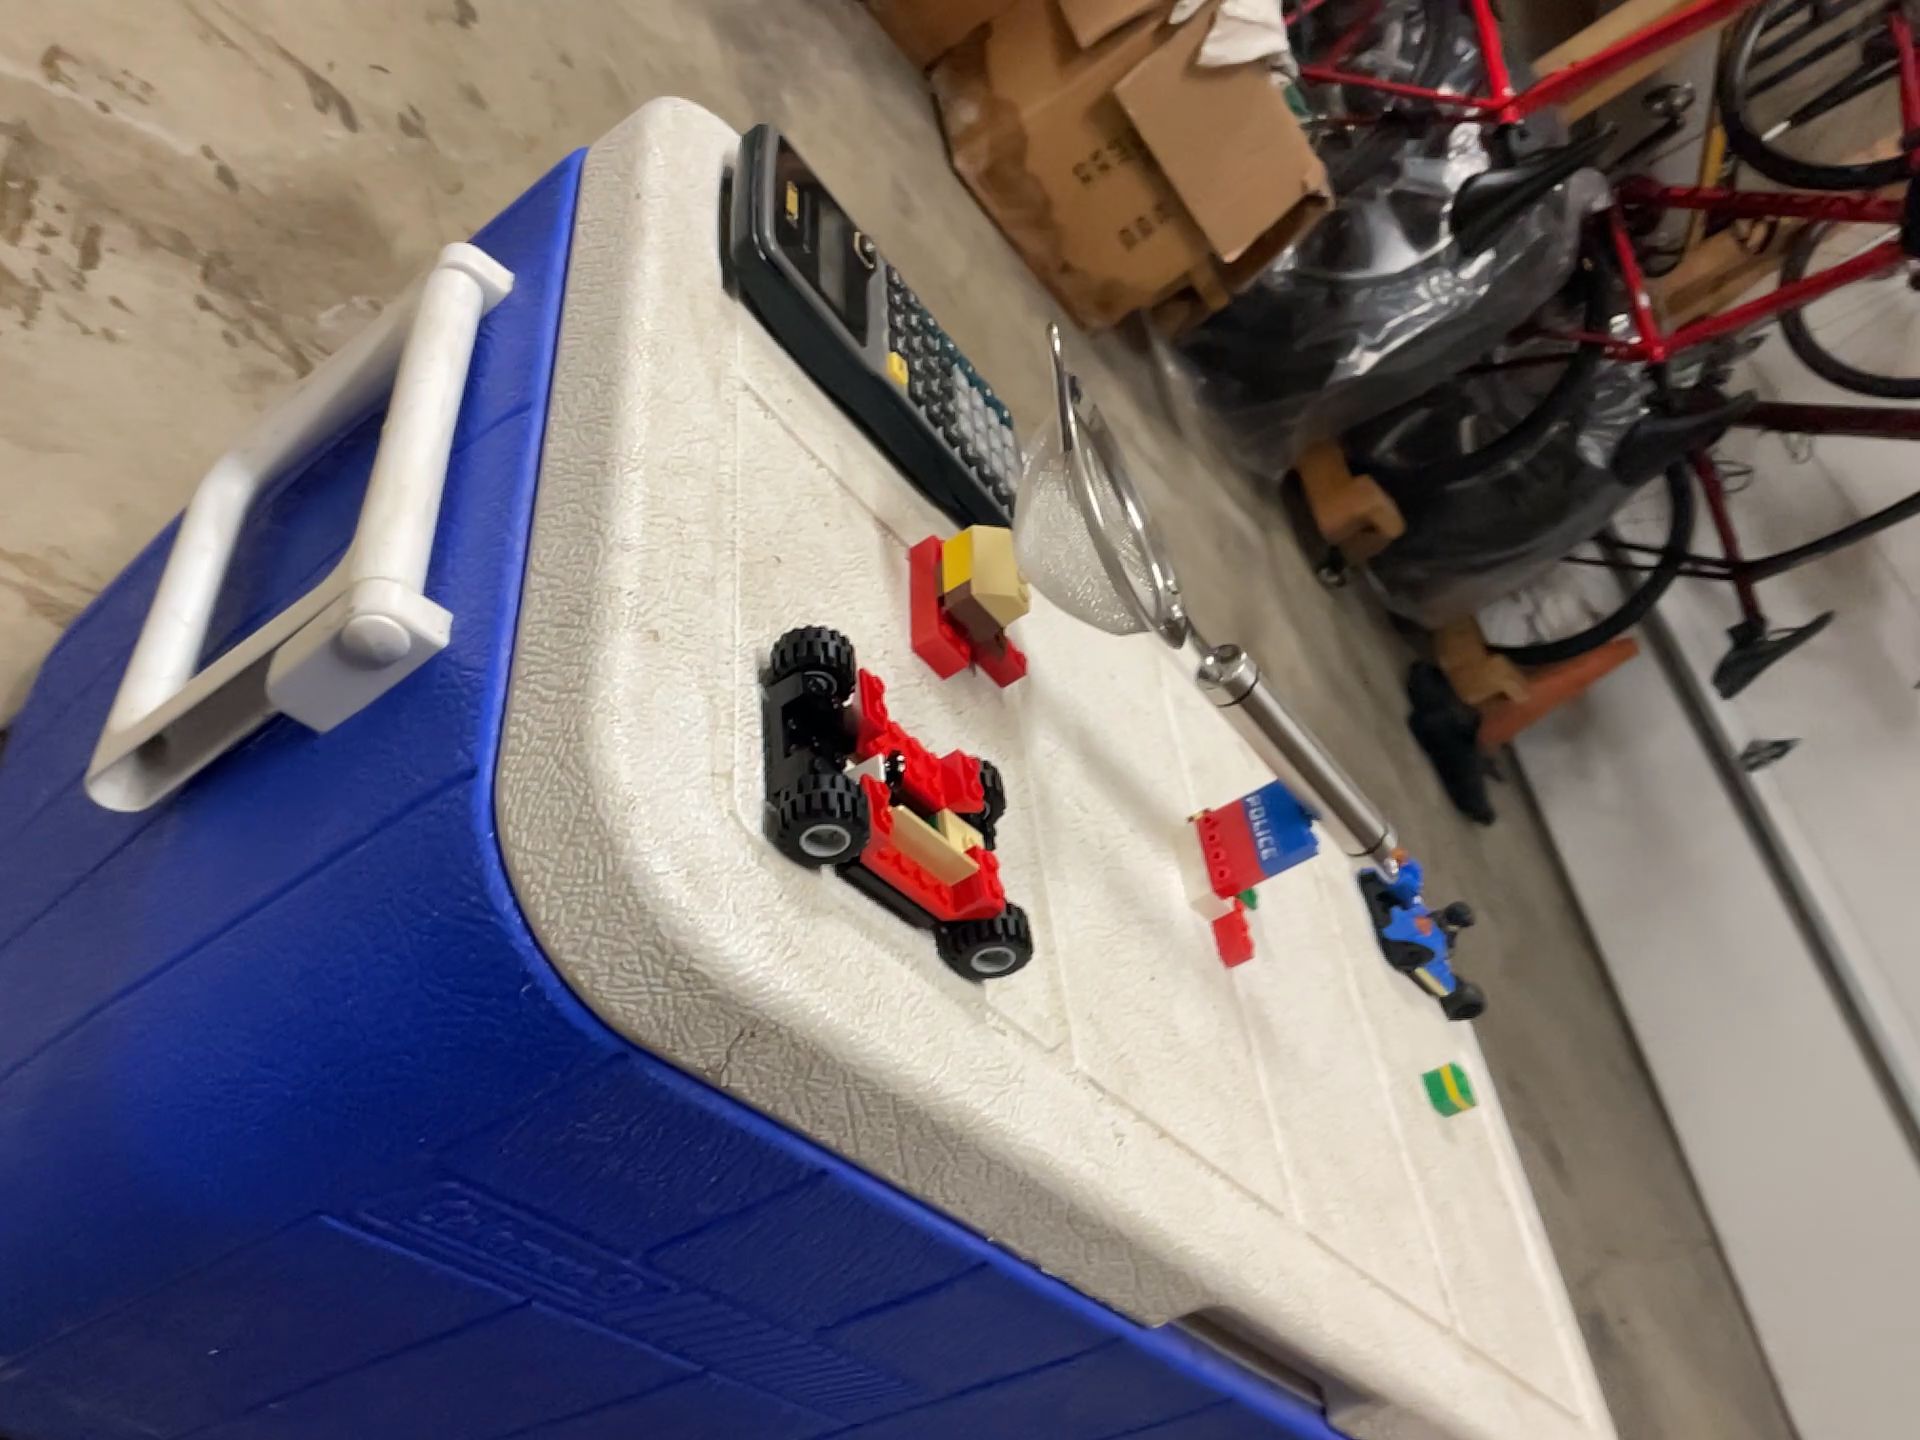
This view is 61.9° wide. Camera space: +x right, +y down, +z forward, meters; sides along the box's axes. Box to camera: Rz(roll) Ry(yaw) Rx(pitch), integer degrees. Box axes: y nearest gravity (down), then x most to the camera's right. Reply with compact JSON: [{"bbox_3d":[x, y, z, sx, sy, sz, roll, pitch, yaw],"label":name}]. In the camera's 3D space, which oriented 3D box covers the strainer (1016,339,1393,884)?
[{"bbox_3d":[0.080,-0.016,0.510,0.258,0.050,0.087,44,29,-35],"label":"strainer"}]
